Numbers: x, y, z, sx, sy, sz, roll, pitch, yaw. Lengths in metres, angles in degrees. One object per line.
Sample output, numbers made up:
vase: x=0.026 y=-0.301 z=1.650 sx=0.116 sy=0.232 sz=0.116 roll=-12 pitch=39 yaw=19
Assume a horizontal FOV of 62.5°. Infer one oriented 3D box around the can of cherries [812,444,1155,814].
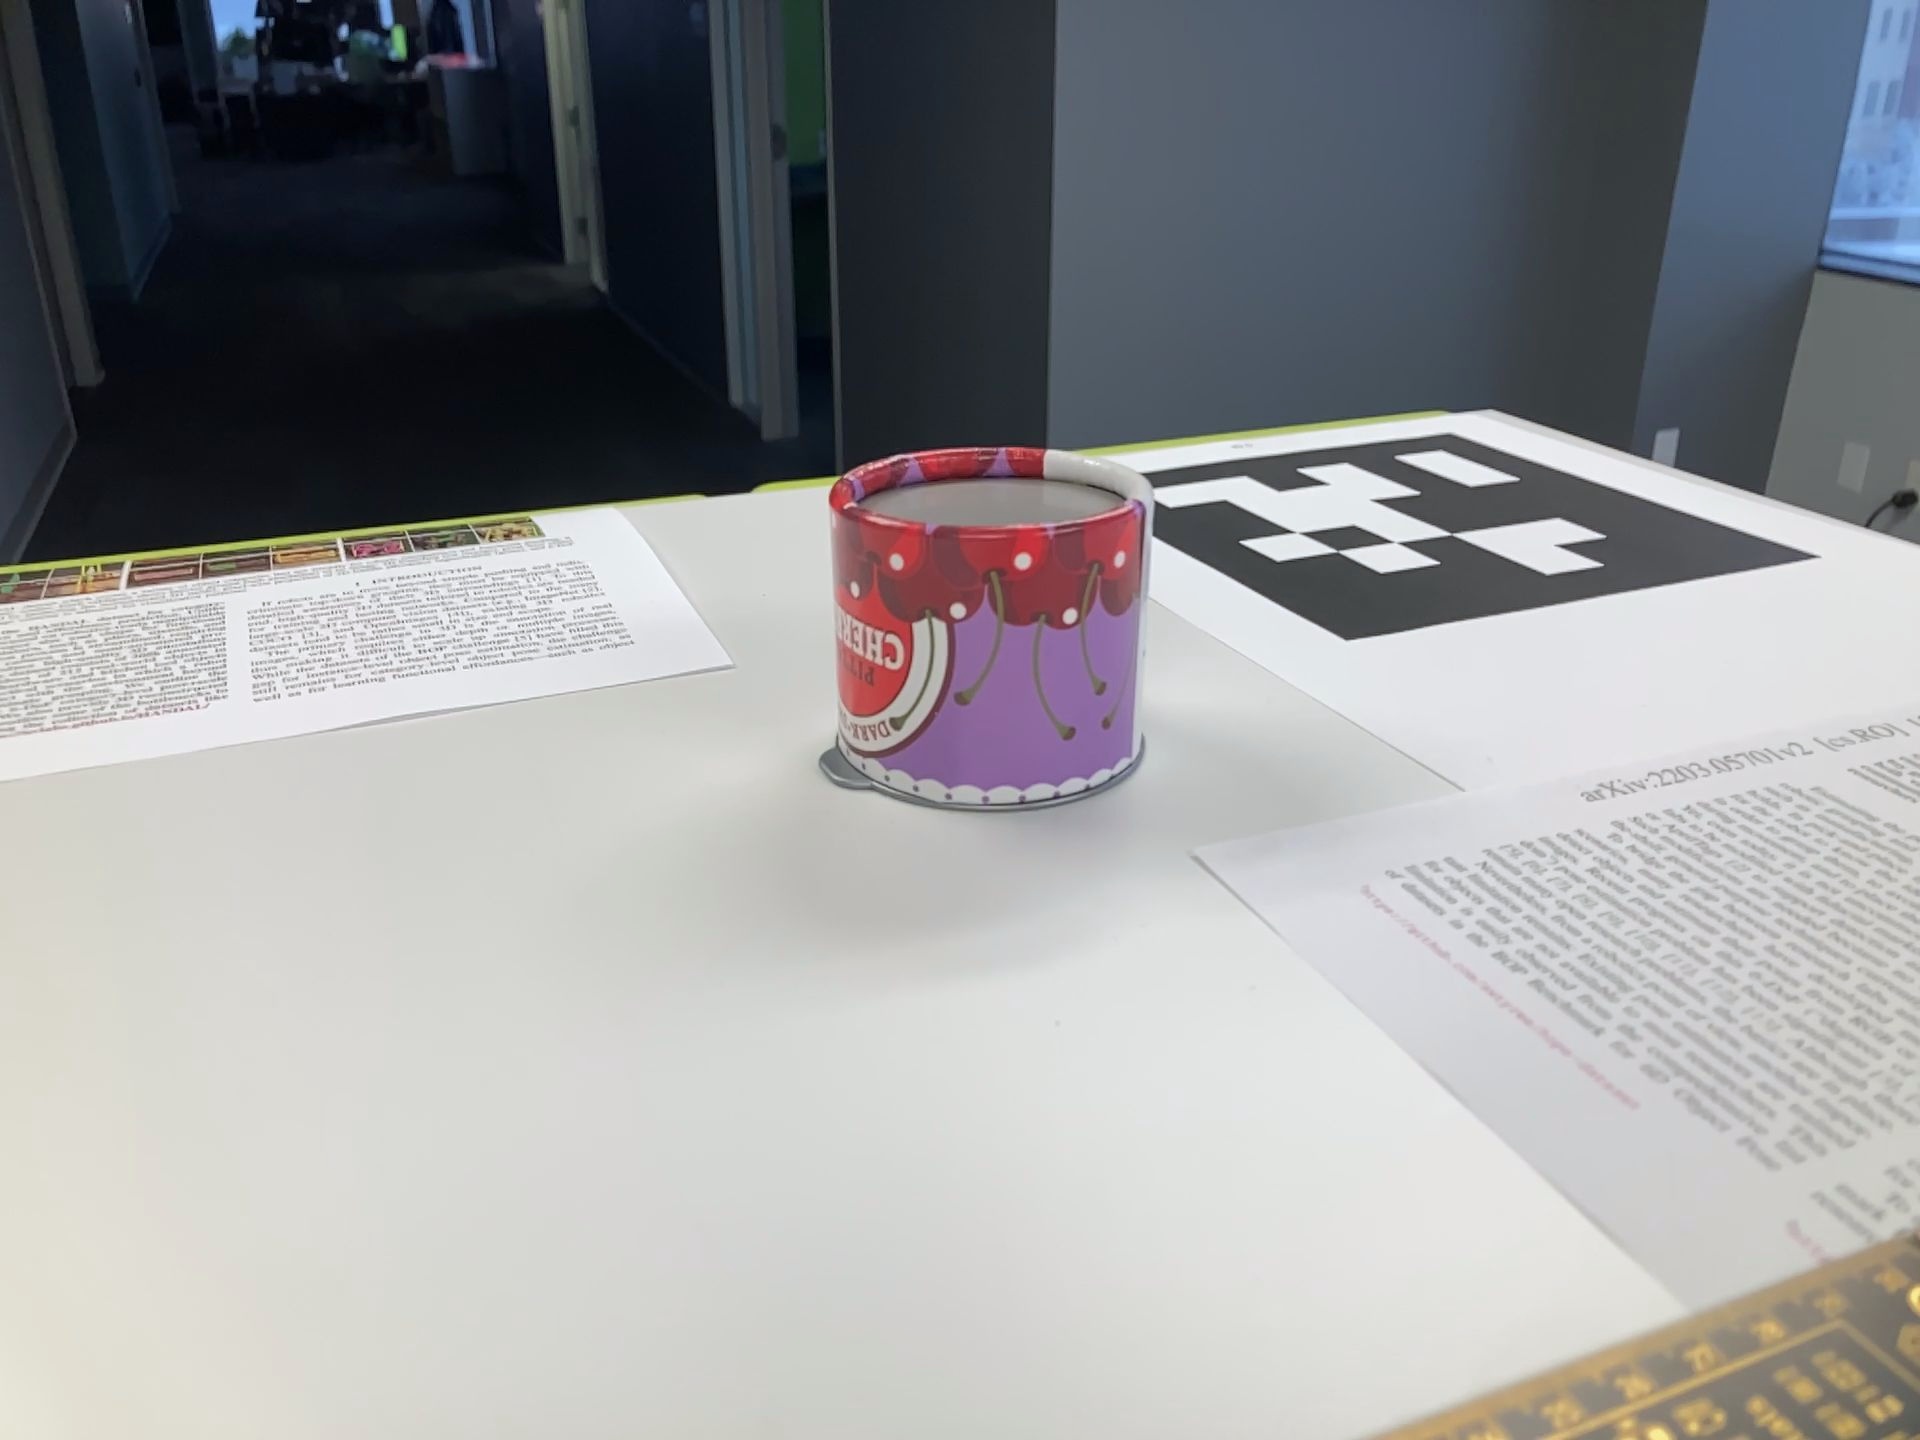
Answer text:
can of cherries: x=0.004 y=-0.021 z=0.324 sx=0.071 sy=0.058 sz=0.071 roll=0 pitch=24 yaw=0
